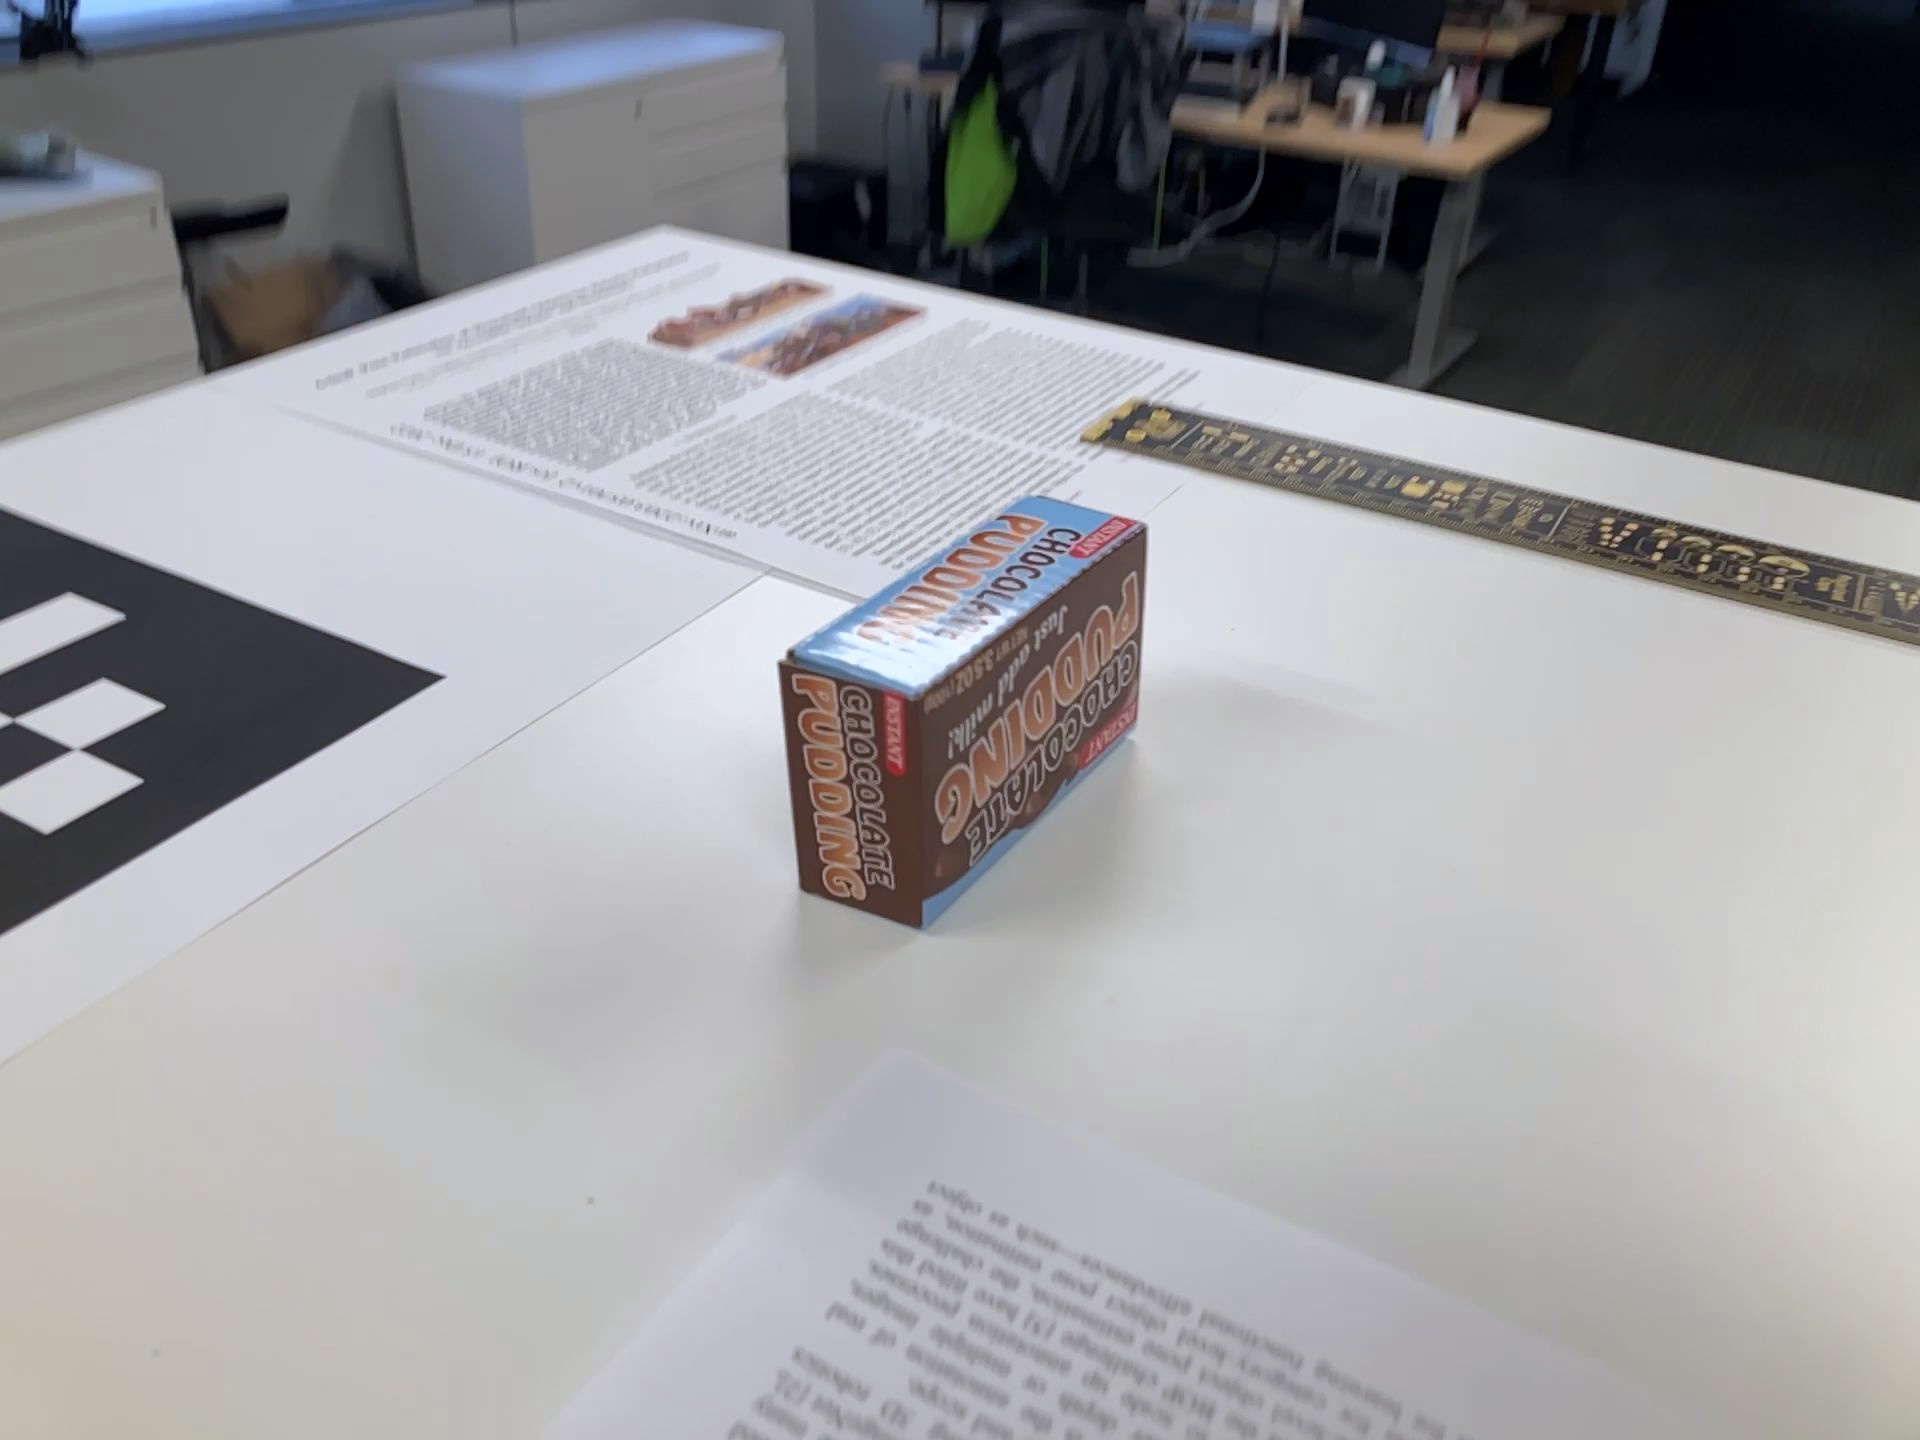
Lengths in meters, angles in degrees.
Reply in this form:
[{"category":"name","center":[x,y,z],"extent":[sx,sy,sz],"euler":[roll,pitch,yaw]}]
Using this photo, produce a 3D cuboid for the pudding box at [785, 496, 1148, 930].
[{"category":"pudding box","center":[0.004,-0.004,0.301],"extent":[0.030,0.049,0.083],"euler":[18,35,28]}]
